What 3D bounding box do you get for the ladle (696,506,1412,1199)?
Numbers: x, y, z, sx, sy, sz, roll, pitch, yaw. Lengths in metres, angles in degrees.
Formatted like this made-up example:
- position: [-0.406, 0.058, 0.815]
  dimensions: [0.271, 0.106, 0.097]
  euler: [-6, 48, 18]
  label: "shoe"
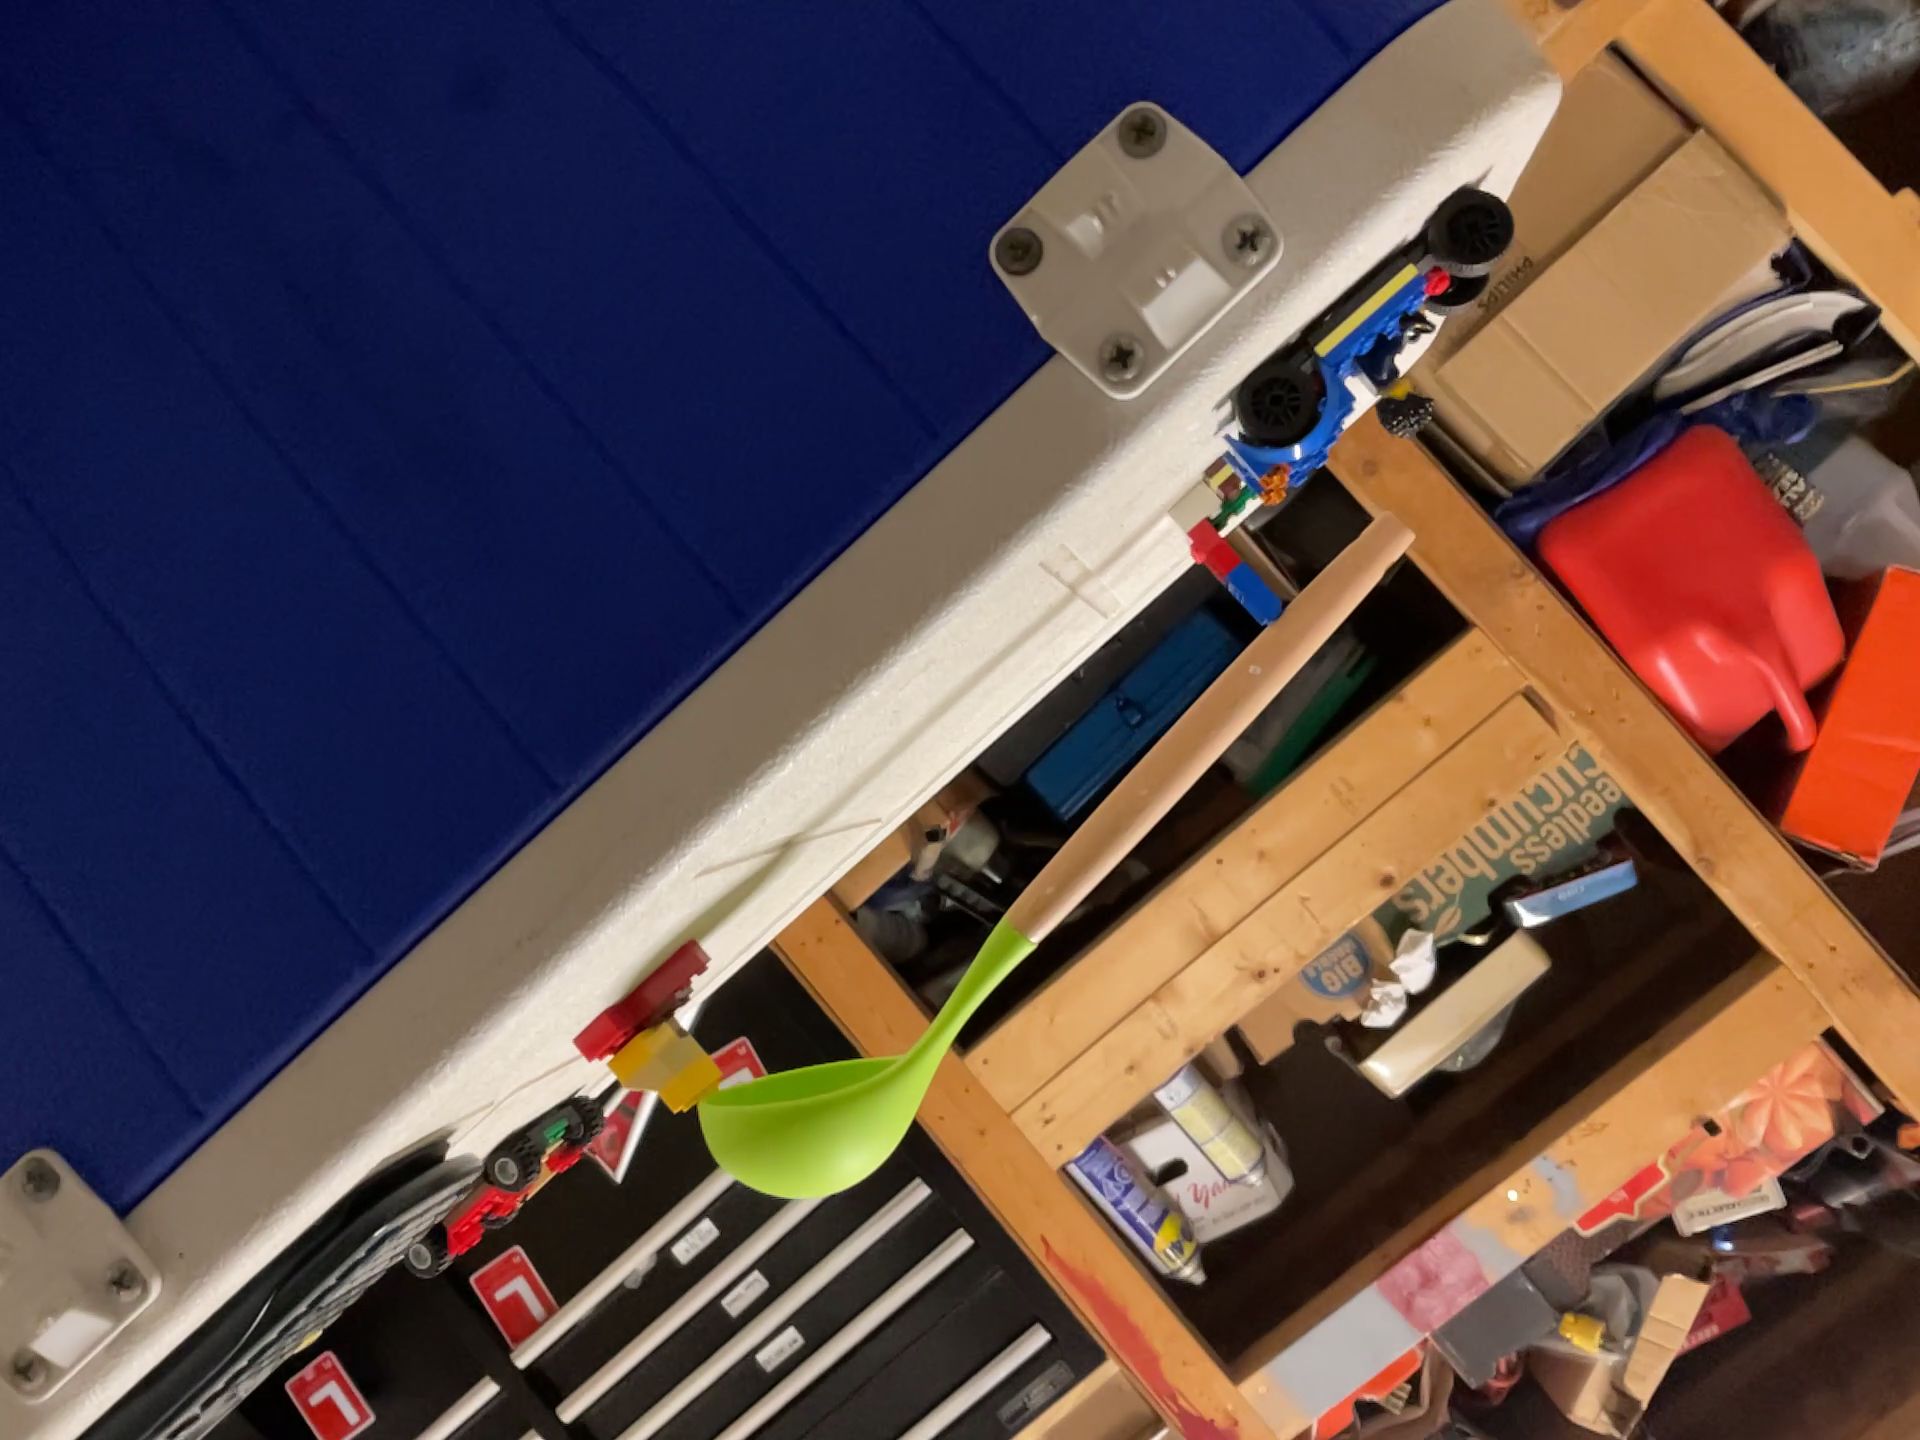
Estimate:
- position: [0.030, 0.044, 0.546]
  dimensions: [0.320, 0.062, 0.078]
  euler: [-48, 167, 7]
  label: "ladle"
